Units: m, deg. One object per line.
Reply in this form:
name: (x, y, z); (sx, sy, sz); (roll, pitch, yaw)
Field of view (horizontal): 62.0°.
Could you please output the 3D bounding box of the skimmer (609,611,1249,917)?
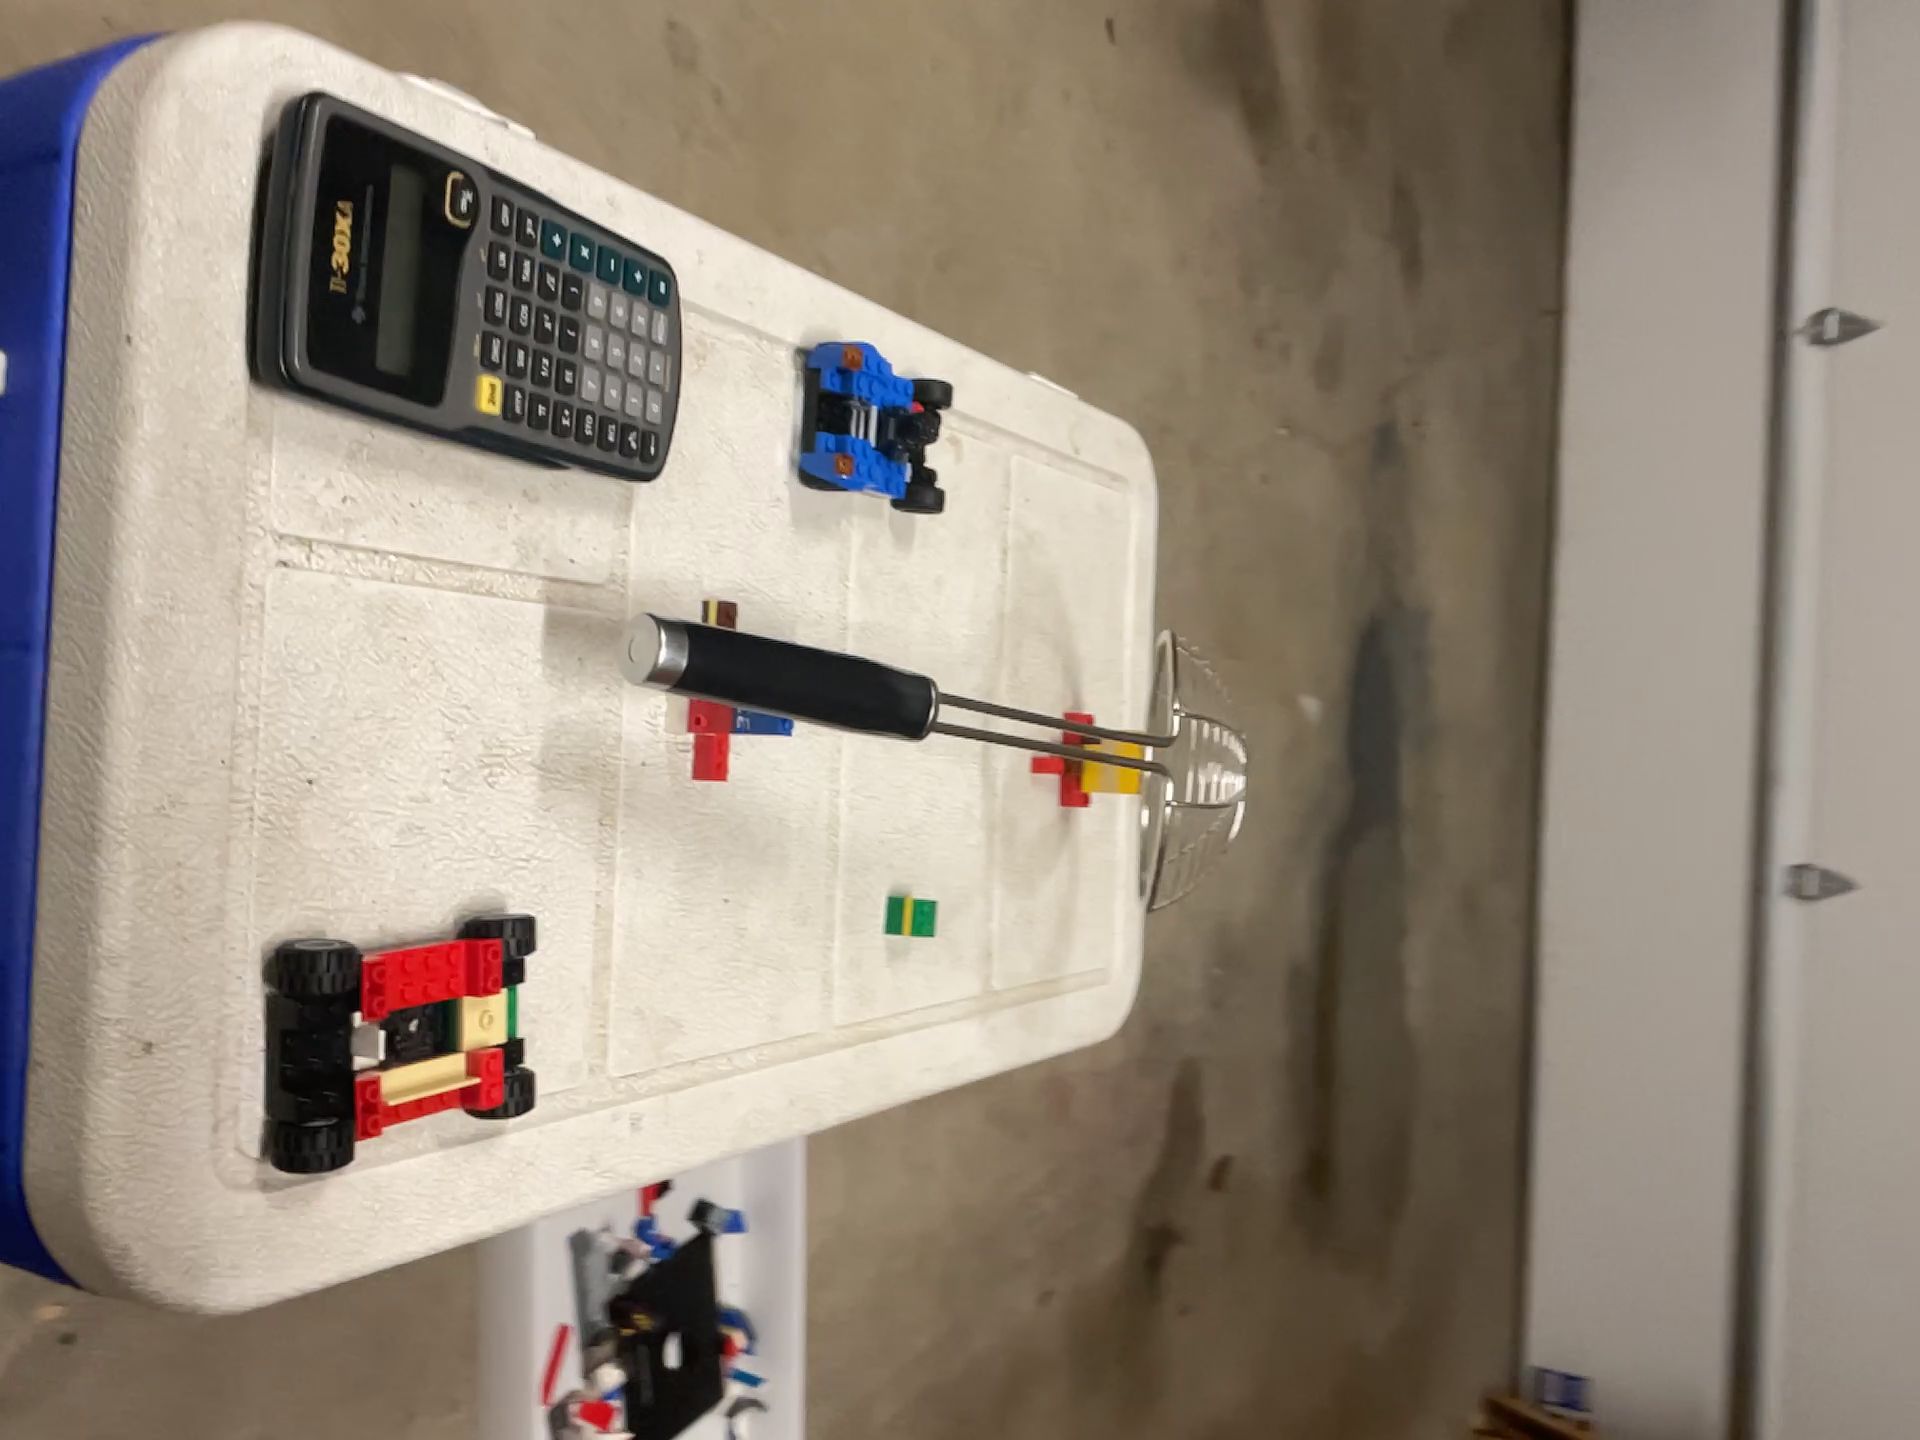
skimmer: (0.003, 0.005, 0.613); (0.363, 0.090, 0.127); (12, 81, -47)
